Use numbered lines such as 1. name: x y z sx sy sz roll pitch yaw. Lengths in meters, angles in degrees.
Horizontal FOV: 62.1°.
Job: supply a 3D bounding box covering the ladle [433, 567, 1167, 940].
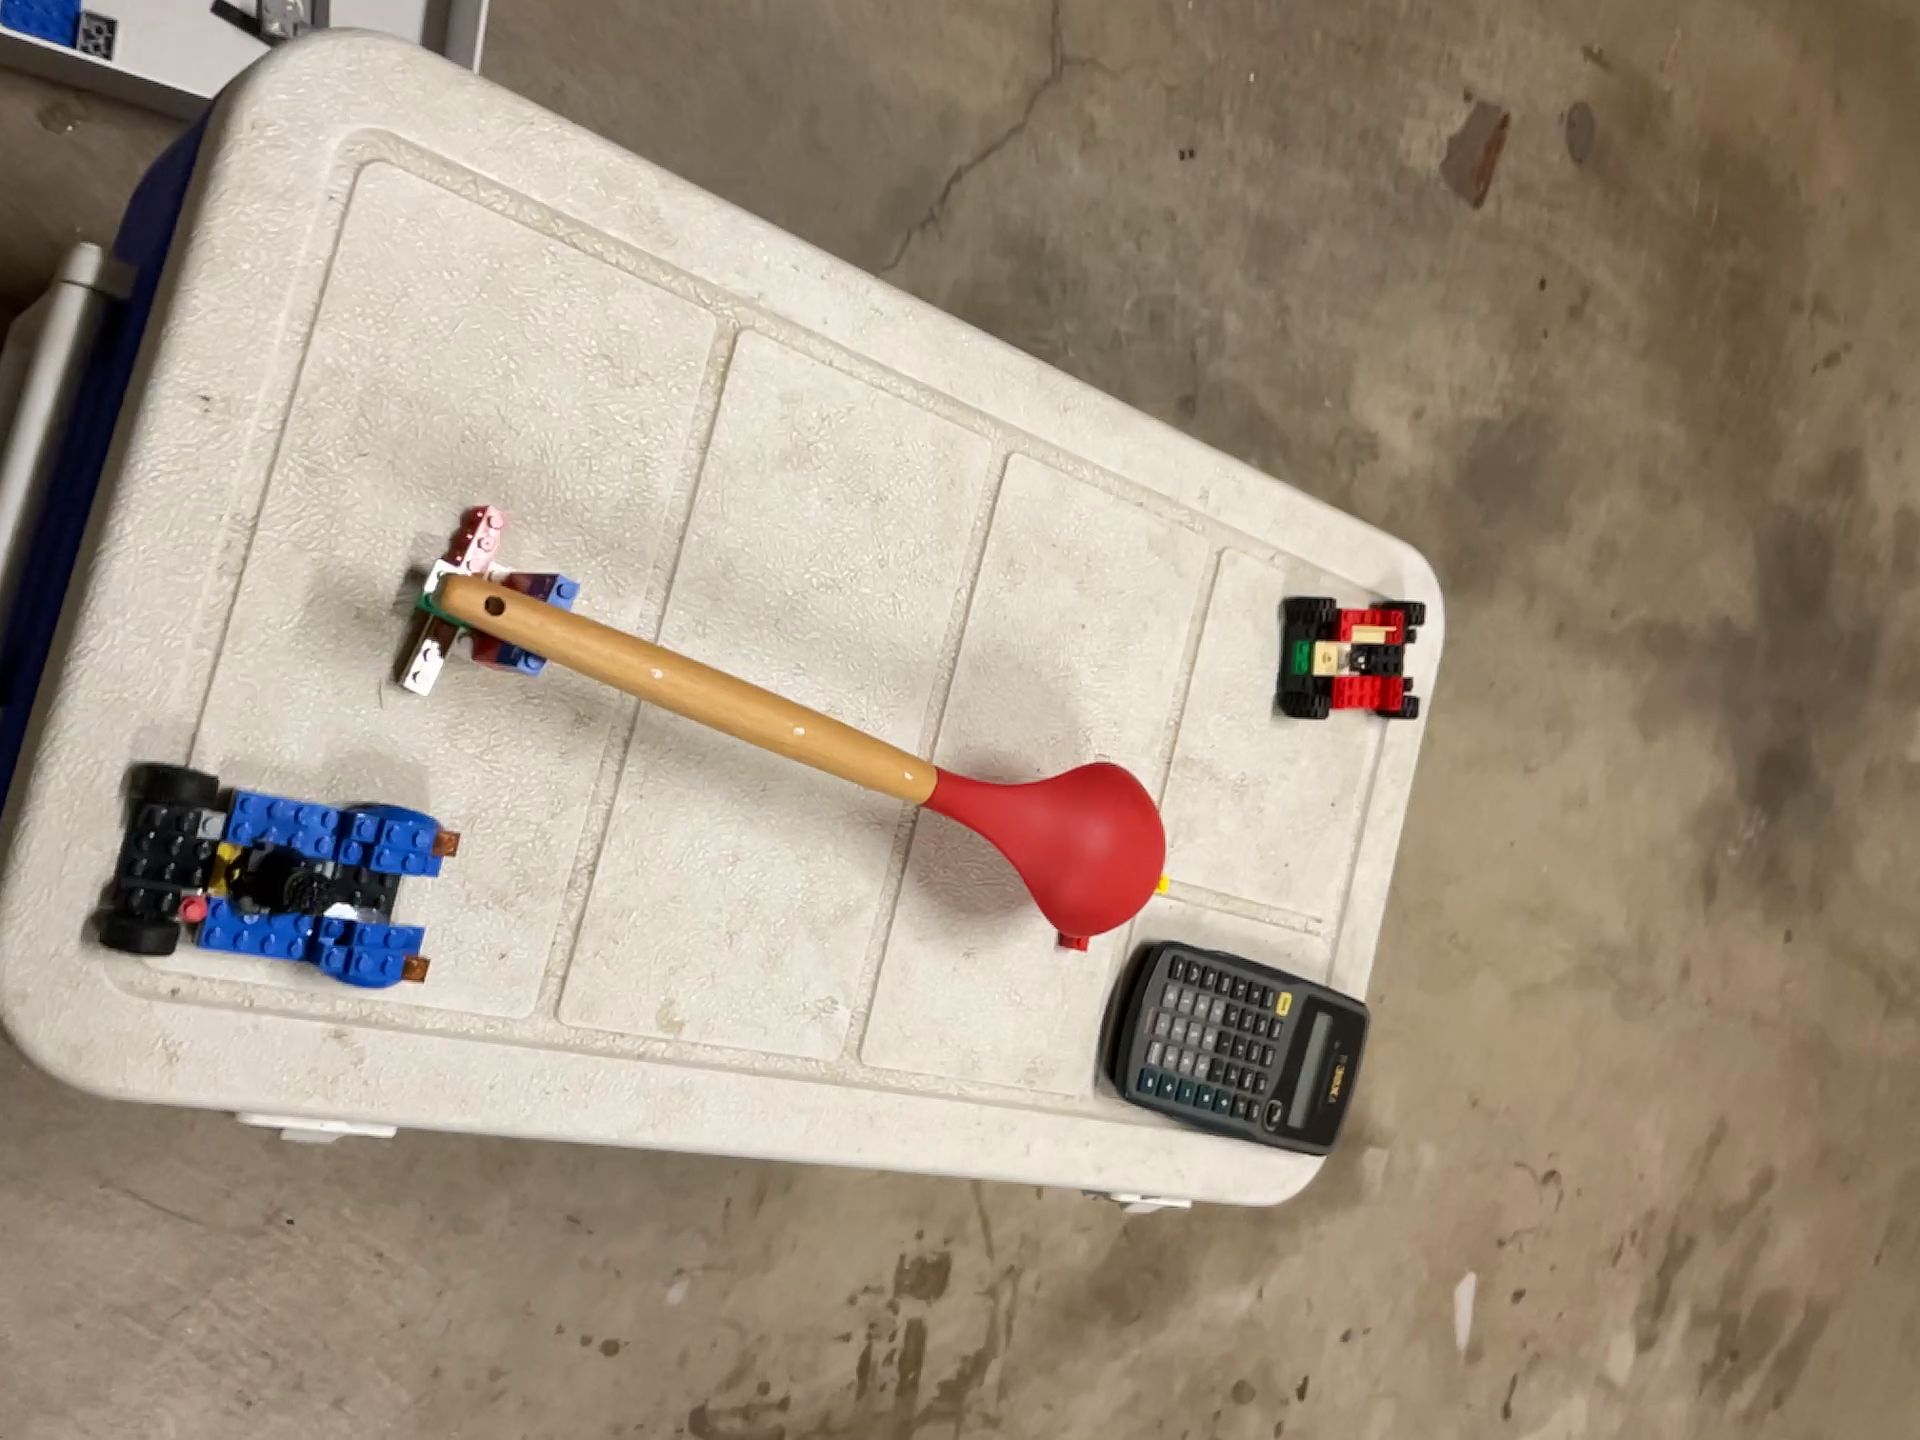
1. ladle: -0.033 0.013 0.551 0.315 0.031 0.069 24 81 -35
